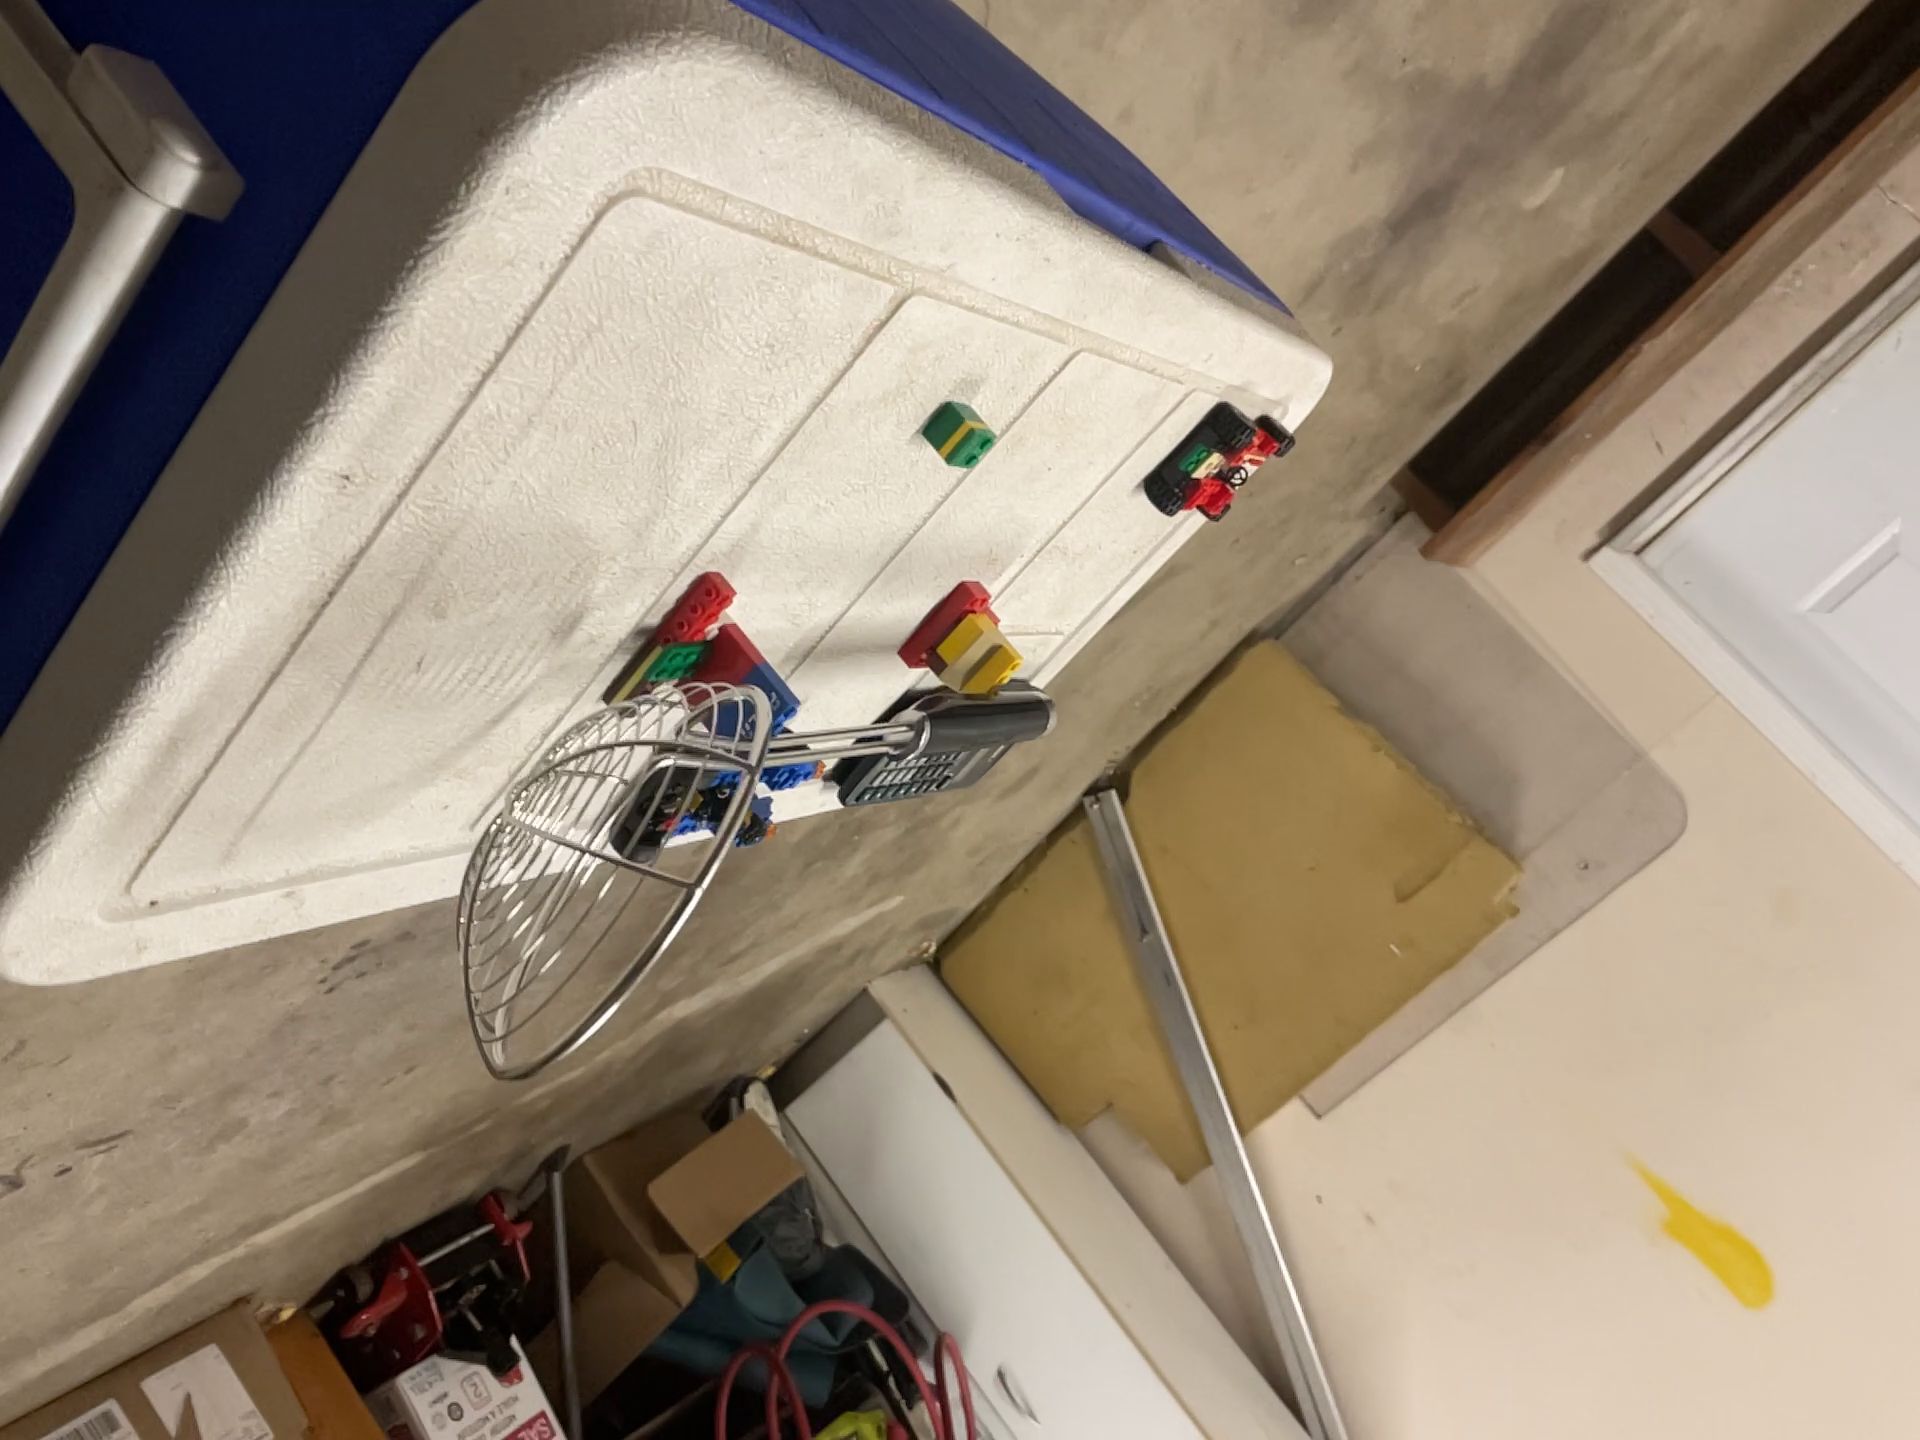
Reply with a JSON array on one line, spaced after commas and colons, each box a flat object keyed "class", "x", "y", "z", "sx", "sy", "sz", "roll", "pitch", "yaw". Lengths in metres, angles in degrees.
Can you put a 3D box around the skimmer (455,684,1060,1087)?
[{"class": "skimmer", "x": -0.033, "y": 0.032, "z": 0.559, "sx": 0.127, "sy": 0.090, "sz": 0.363, "roll": -44, "pitch": 164, "yaw": 24}]
